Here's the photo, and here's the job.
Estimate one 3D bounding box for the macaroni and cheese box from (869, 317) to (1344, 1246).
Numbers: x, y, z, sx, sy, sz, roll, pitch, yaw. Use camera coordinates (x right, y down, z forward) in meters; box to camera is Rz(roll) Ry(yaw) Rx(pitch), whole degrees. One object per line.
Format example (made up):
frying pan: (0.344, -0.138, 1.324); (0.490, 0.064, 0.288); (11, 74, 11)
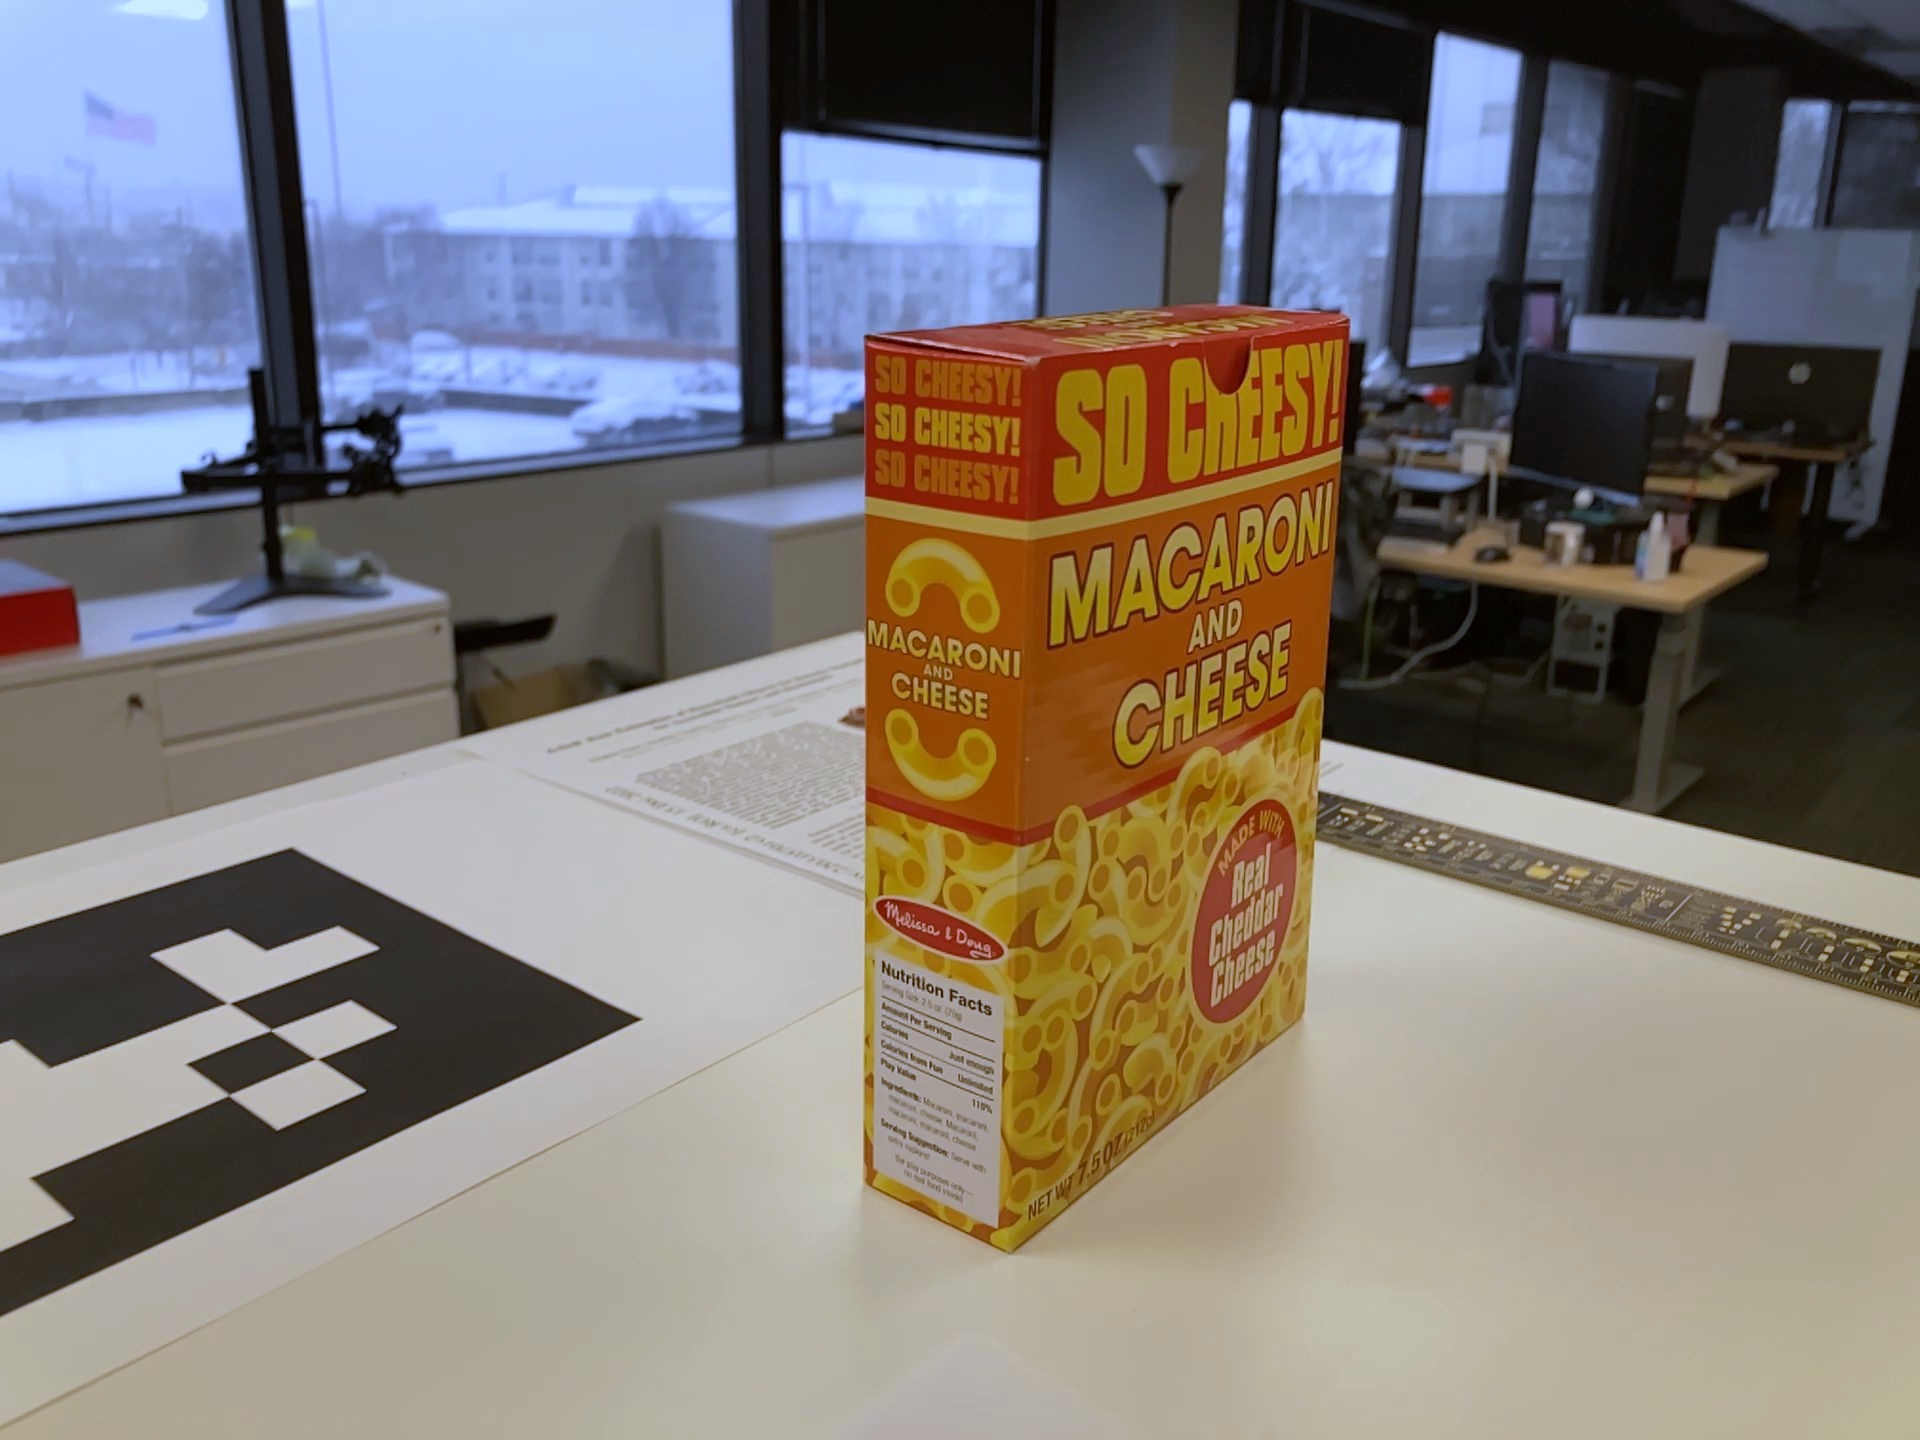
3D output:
macaroni and cheese box: (0.034, 0.003, 0.331); (0.040, 0.166, 0.124); (13, 20, 34)
